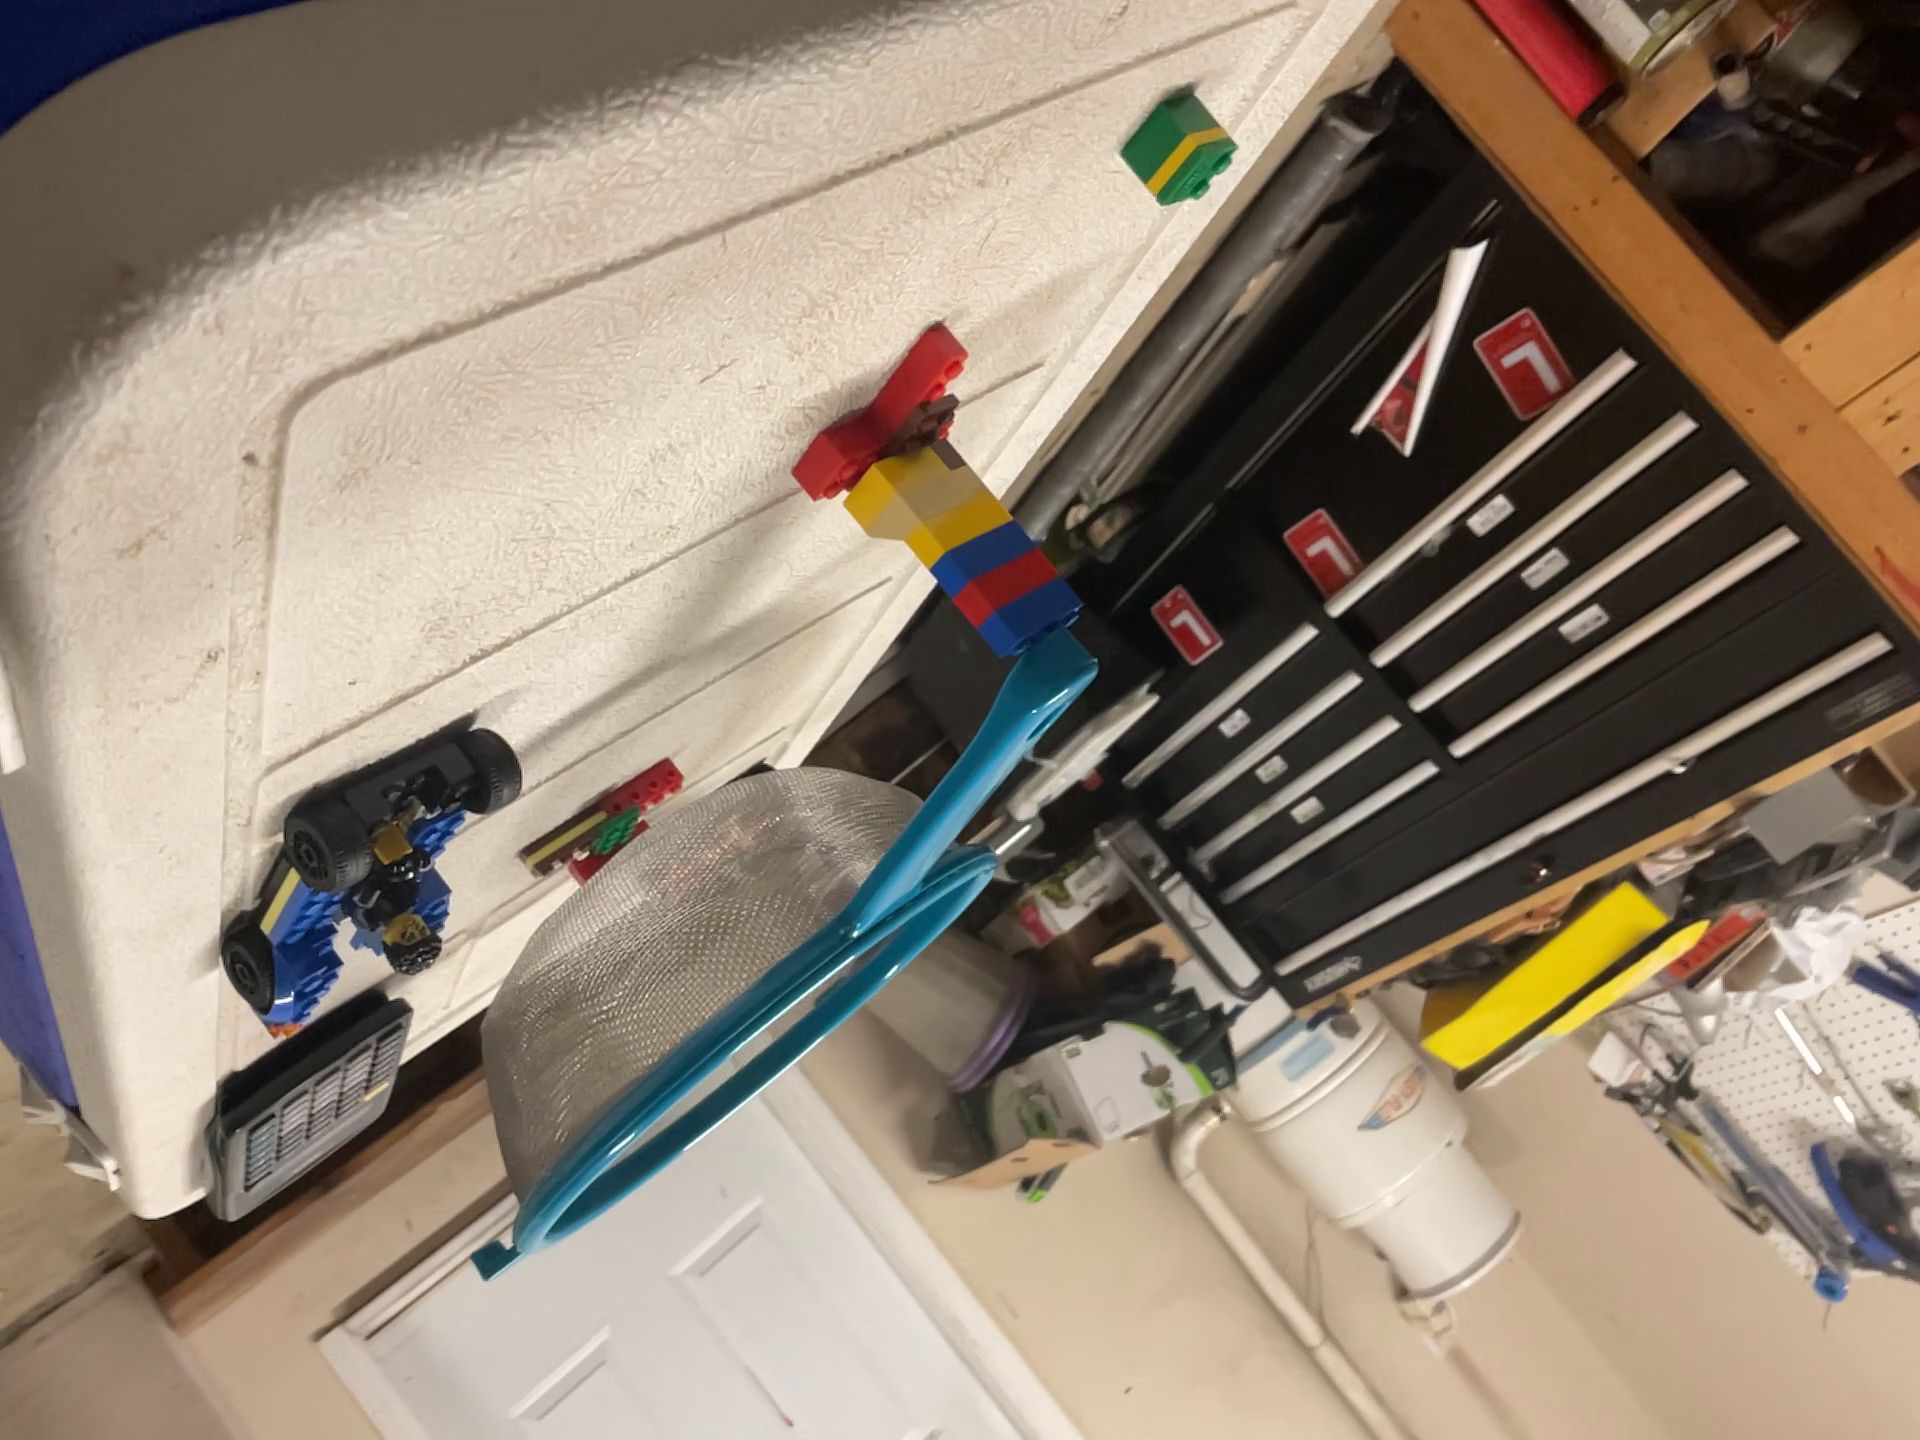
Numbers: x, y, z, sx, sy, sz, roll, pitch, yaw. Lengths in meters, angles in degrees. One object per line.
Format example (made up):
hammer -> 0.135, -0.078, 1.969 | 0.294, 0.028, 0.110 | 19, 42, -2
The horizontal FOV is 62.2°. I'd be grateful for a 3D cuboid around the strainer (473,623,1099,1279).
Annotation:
strainer -> -0.067, 0.050, 0.528 | 0.211, 0.095, 0.340 | -32, 166, -42
